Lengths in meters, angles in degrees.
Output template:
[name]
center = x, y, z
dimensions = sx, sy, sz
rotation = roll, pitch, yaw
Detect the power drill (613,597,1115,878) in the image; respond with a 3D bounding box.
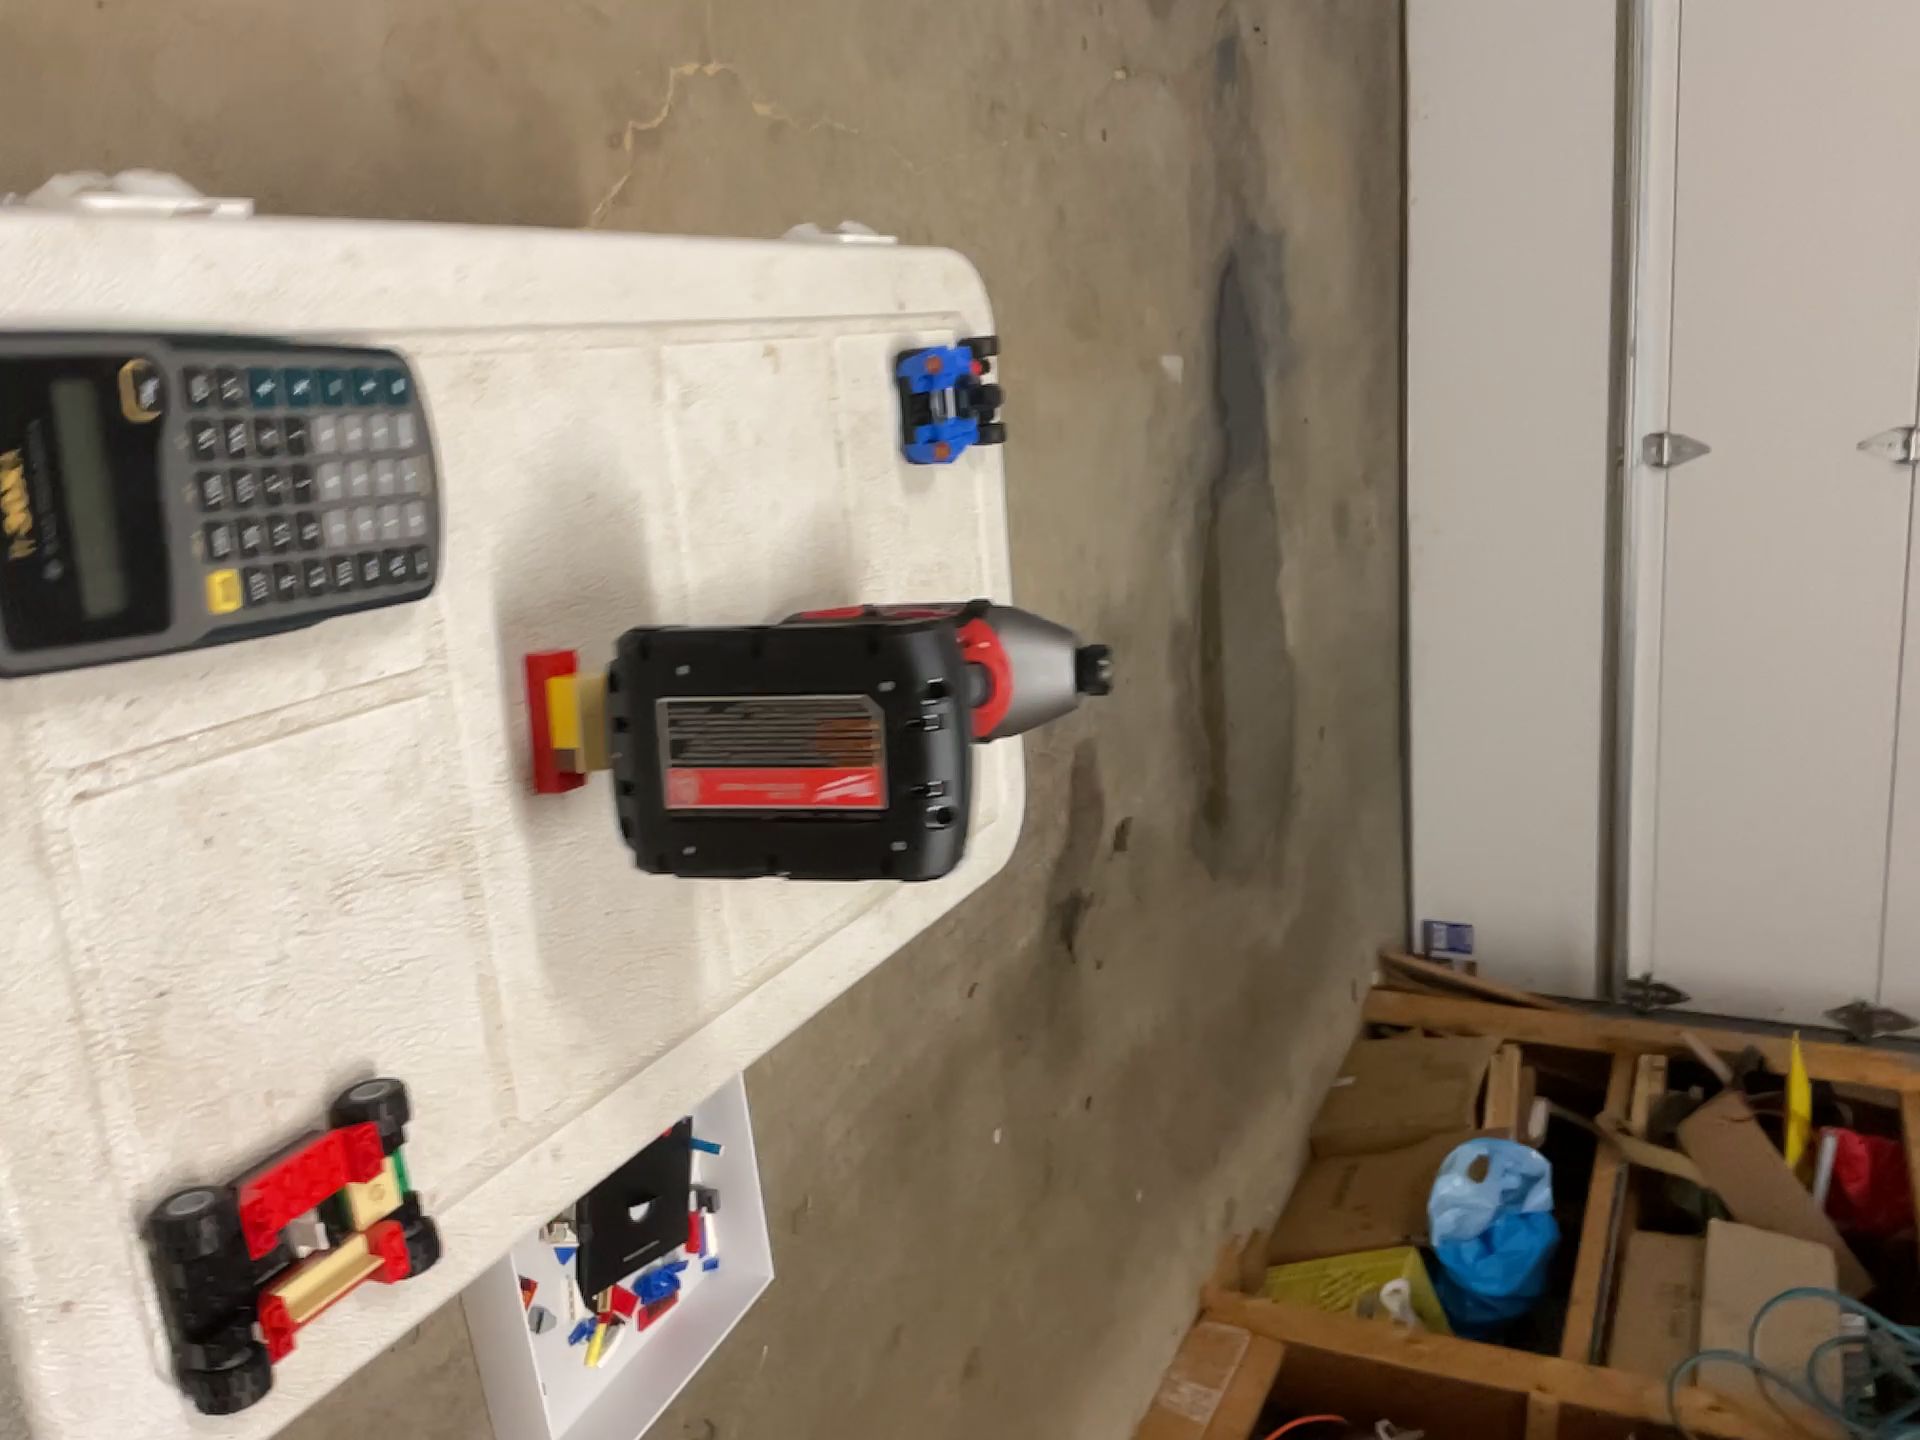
[power drill]
center = -0.025, -0.007, 0.590
dimensions = 0.220, 0.143, 0.078
rotation = -36, 124, -74
